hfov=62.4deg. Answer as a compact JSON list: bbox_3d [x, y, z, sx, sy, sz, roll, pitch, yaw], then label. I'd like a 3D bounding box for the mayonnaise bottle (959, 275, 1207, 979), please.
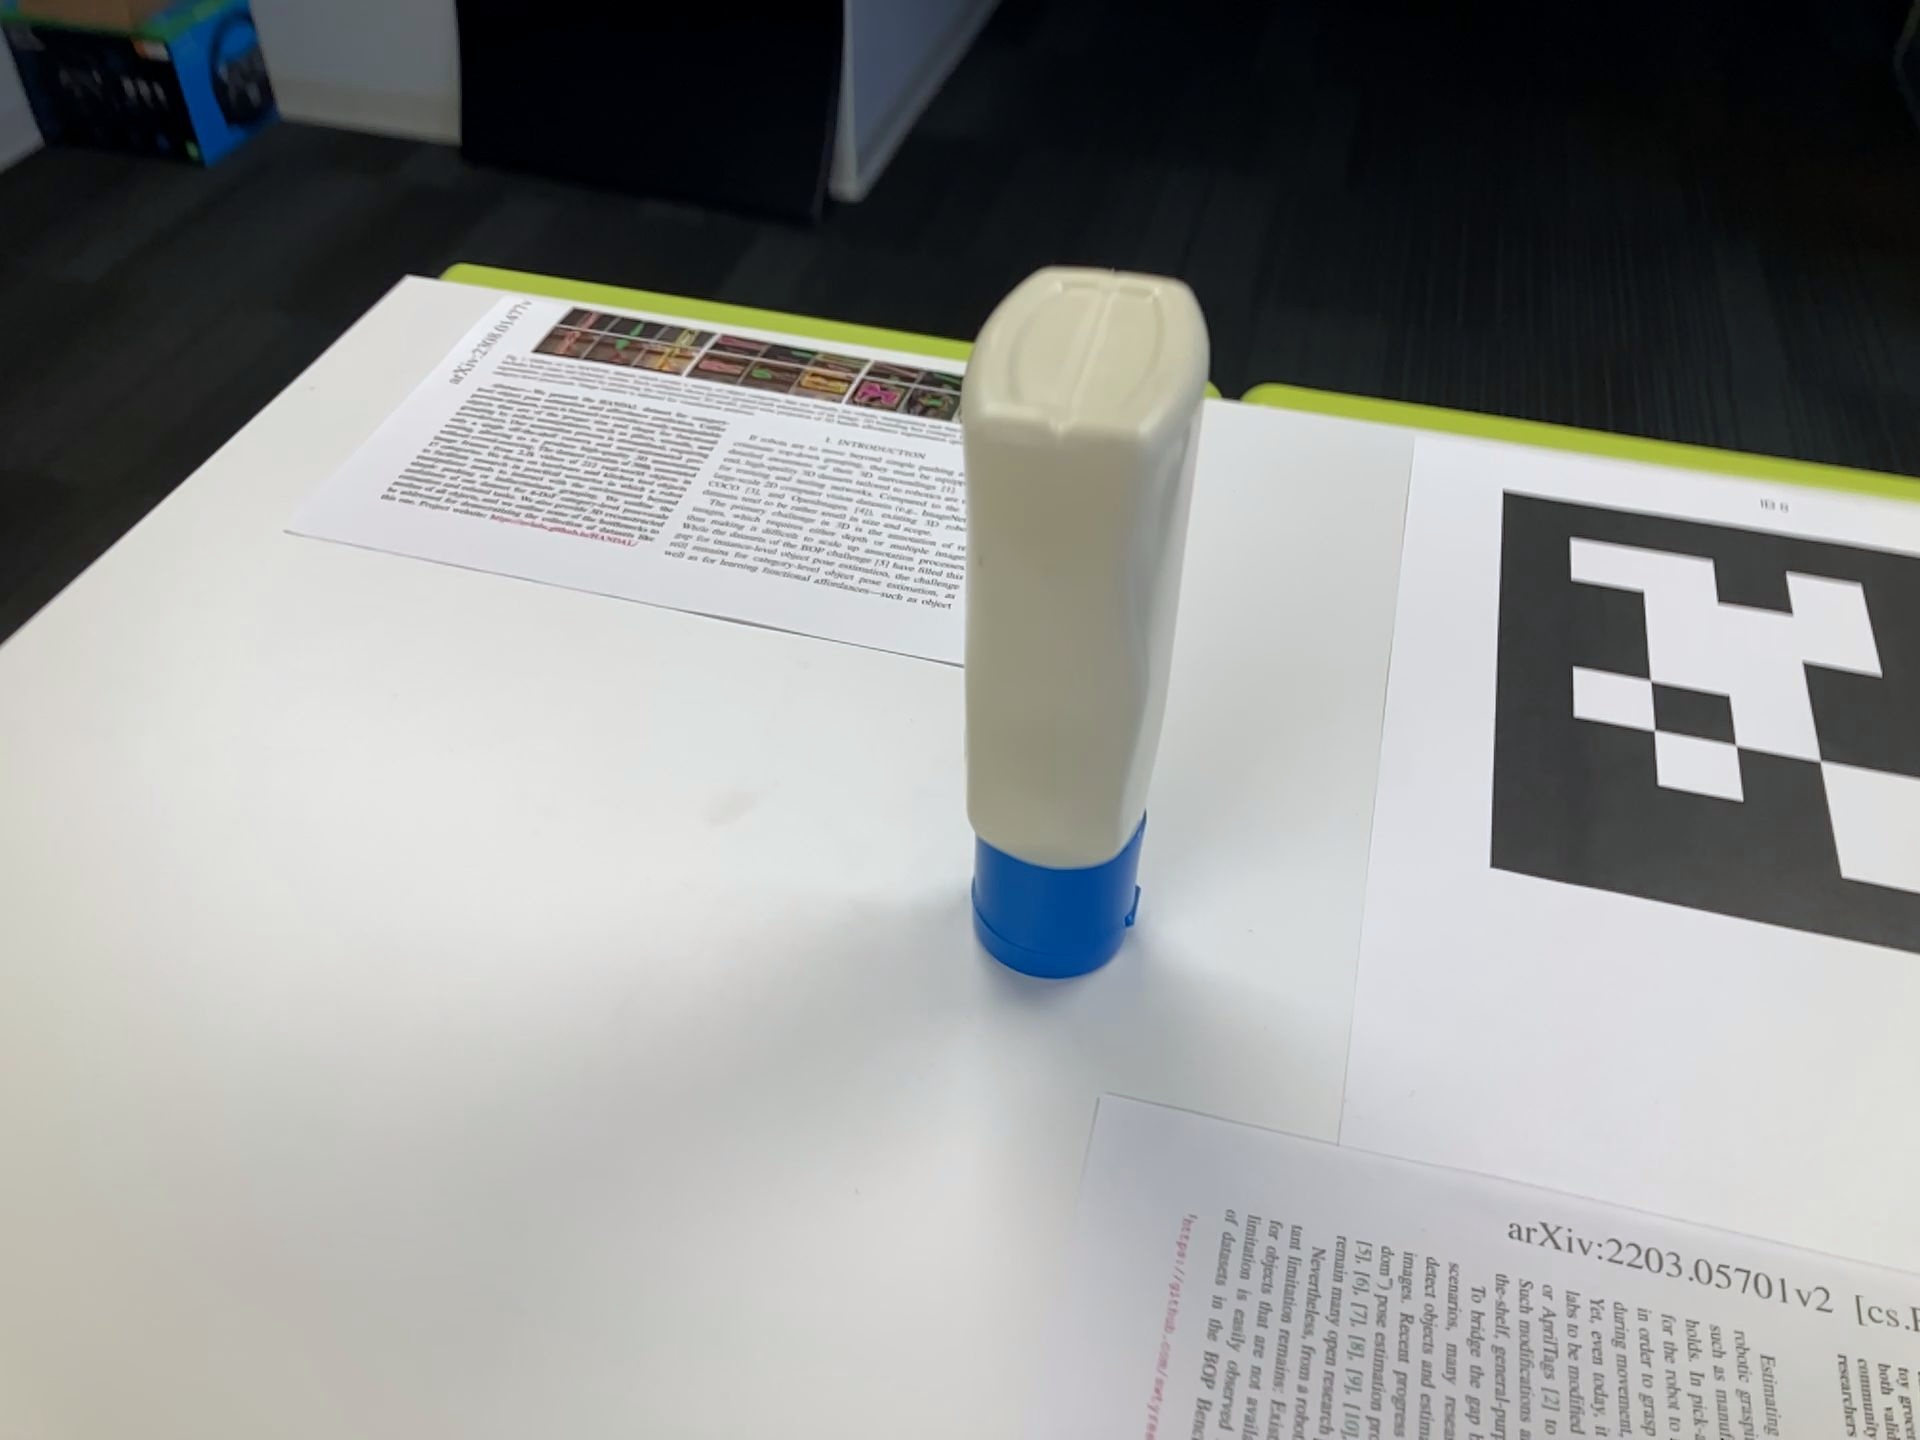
[{"bbox_3d":[0.021,-0.008,0.316,0.041,0.148,0.065,10,43,10],"label":"mayonnaise bottle"}]
